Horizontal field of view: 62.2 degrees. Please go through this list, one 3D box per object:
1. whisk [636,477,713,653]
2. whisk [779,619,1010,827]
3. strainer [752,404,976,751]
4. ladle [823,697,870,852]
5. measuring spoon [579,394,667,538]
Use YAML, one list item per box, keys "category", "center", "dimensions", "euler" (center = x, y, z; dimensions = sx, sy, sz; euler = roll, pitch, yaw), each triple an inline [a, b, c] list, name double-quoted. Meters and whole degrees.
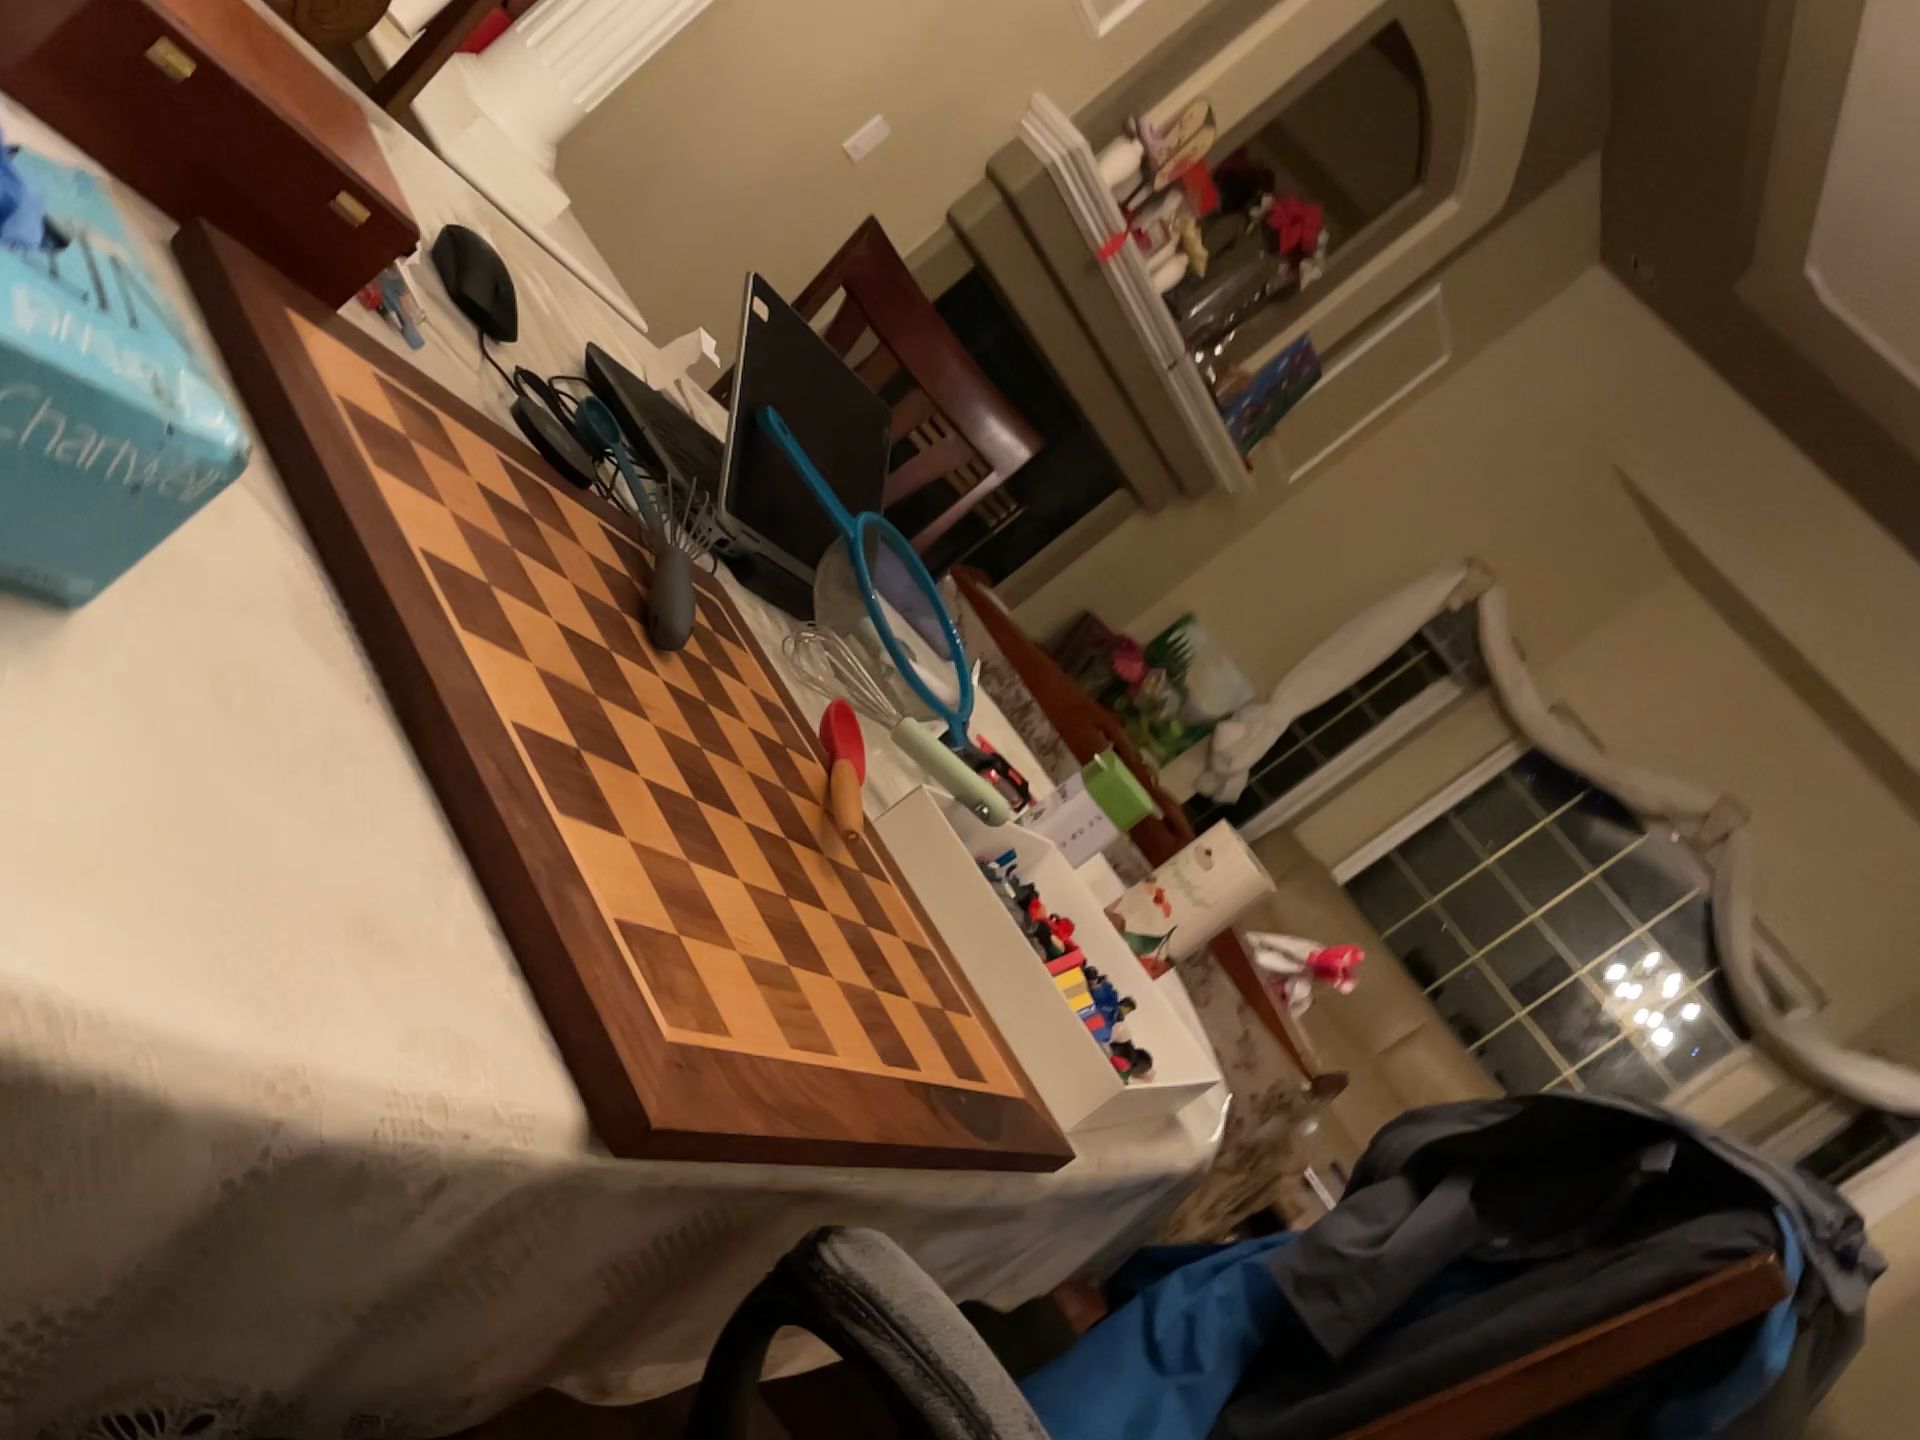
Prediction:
- category: "whisk"
  center: [-0.183, -0.099, 1.004]
  dimensions: [0.055, 0.055, 0.239]
  euler: [34, 19, -22]
- category: "whisk"
  center: [-0.052, 0.002, 1.244]
  dimensions: [0.246, 0.058, 0.059]
  euler: [41, 33, 22]
- category: "strainer"
  center: [-0.108, -0.122, 1.404]
  dimensions: [0.340, 0.095, 0.211]
  euler: [54, 19, -29]
- category: "ladle"
  center: [-0.074, 0.040, 1.047]
  dimensions: [0.315, 0.031, 0.069]
  euler: [-112, -175, -78]
- category: "measuring spoon"
  center: [-0.250, -0.180, 1.182]
  dimensions: [0.128, 0.021, 0.042]
  euler: [64, 15, -3]
